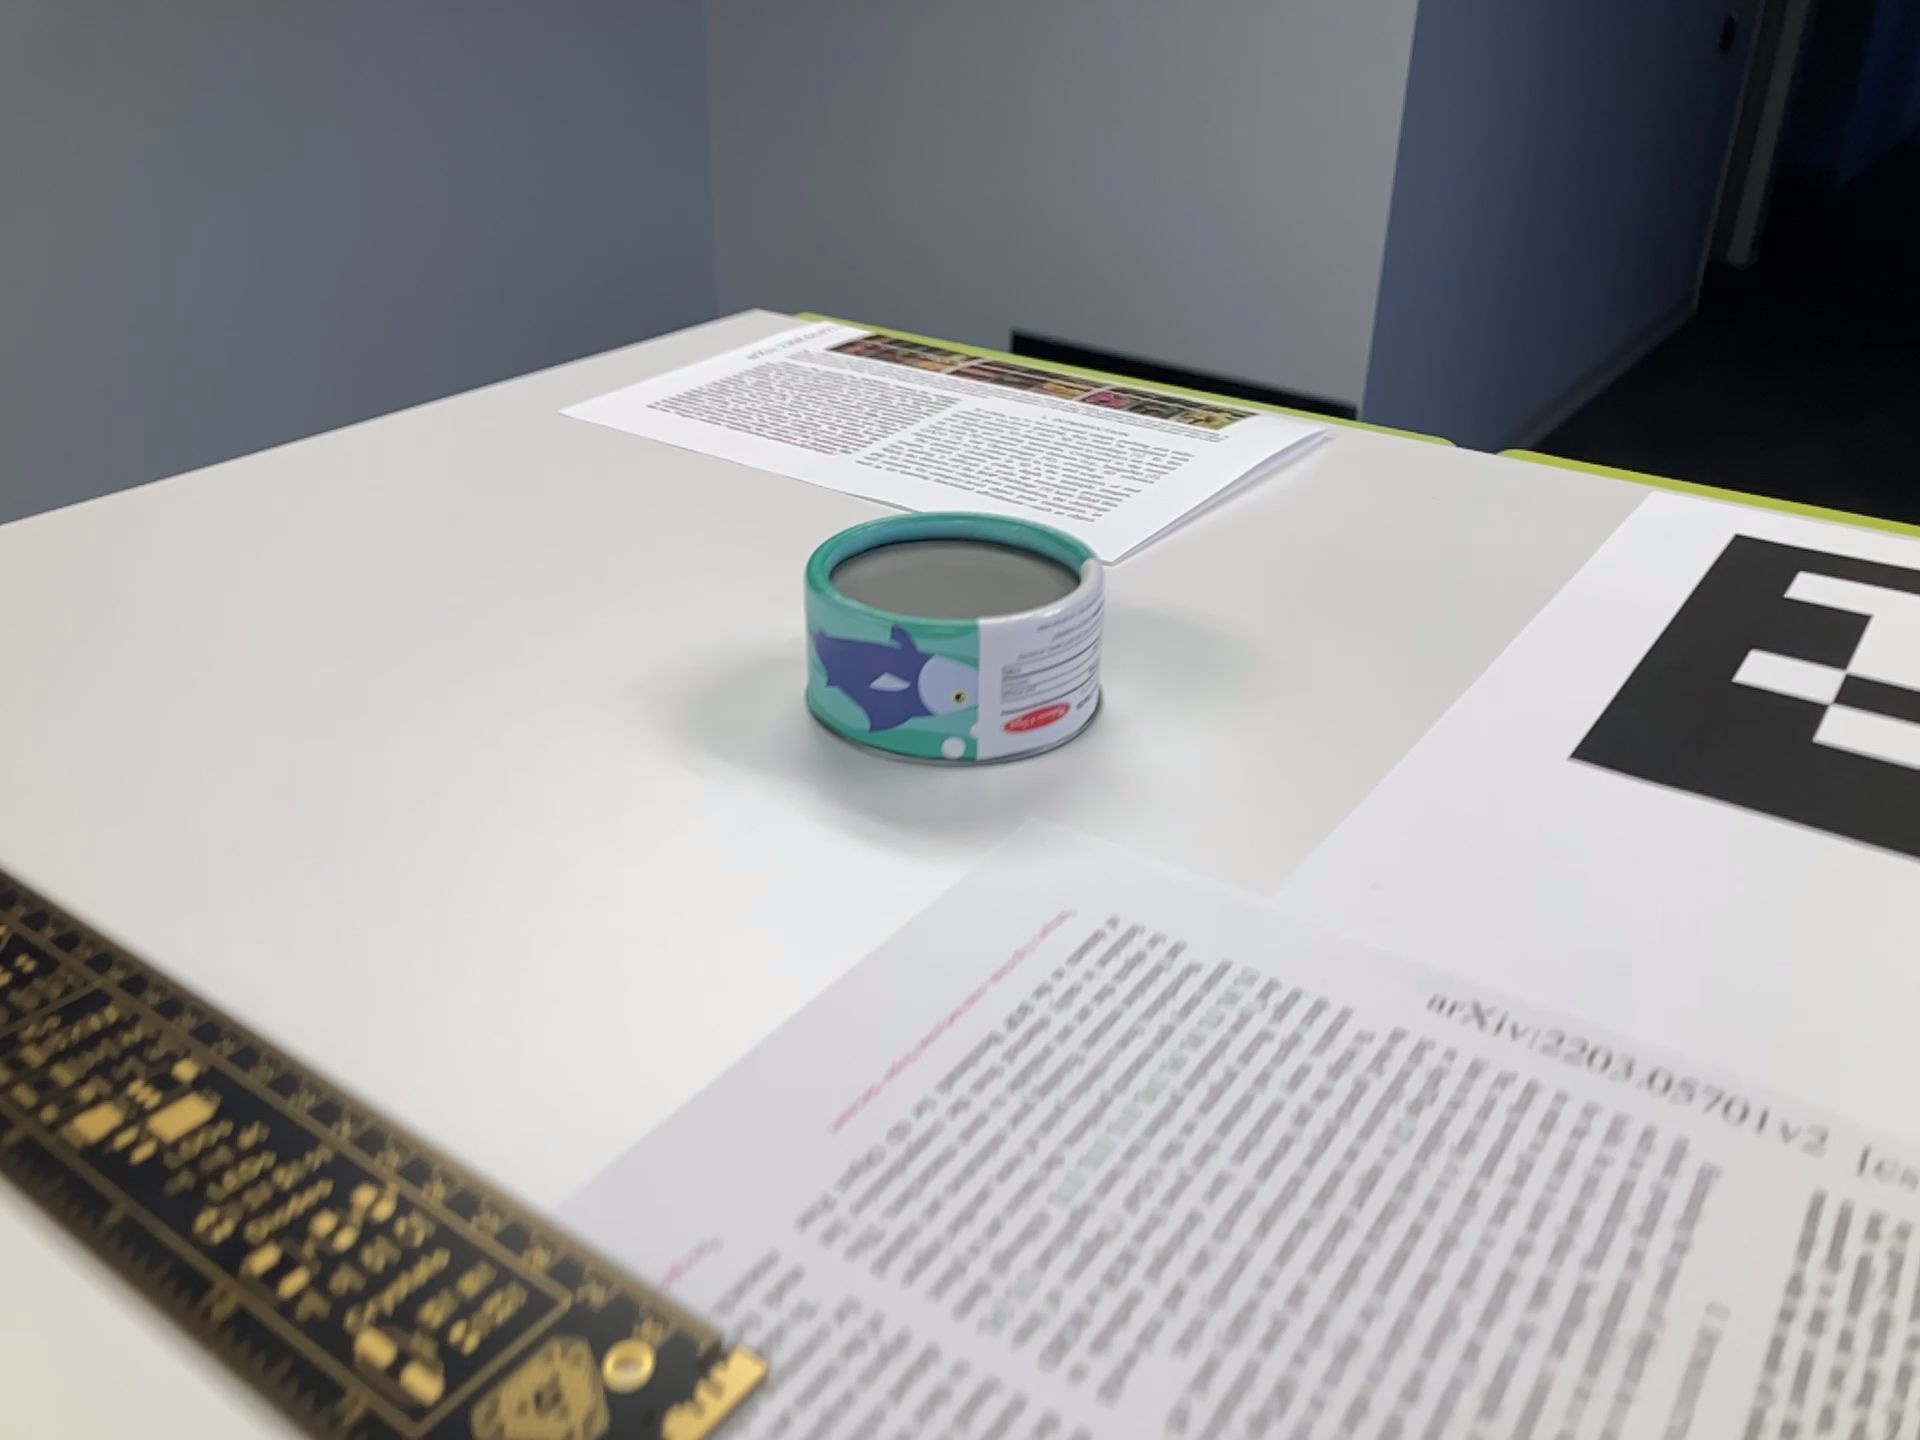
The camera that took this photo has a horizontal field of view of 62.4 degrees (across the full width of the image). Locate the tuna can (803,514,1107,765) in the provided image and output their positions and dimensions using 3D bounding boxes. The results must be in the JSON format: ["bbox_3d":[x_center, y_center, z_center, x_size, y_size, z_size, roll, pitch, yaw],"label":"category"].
[{"bbox_3d":[-0.003,-0.020,0.347,0.071,0.033,0.071,1,26,0],"label":"tuna can"}]
